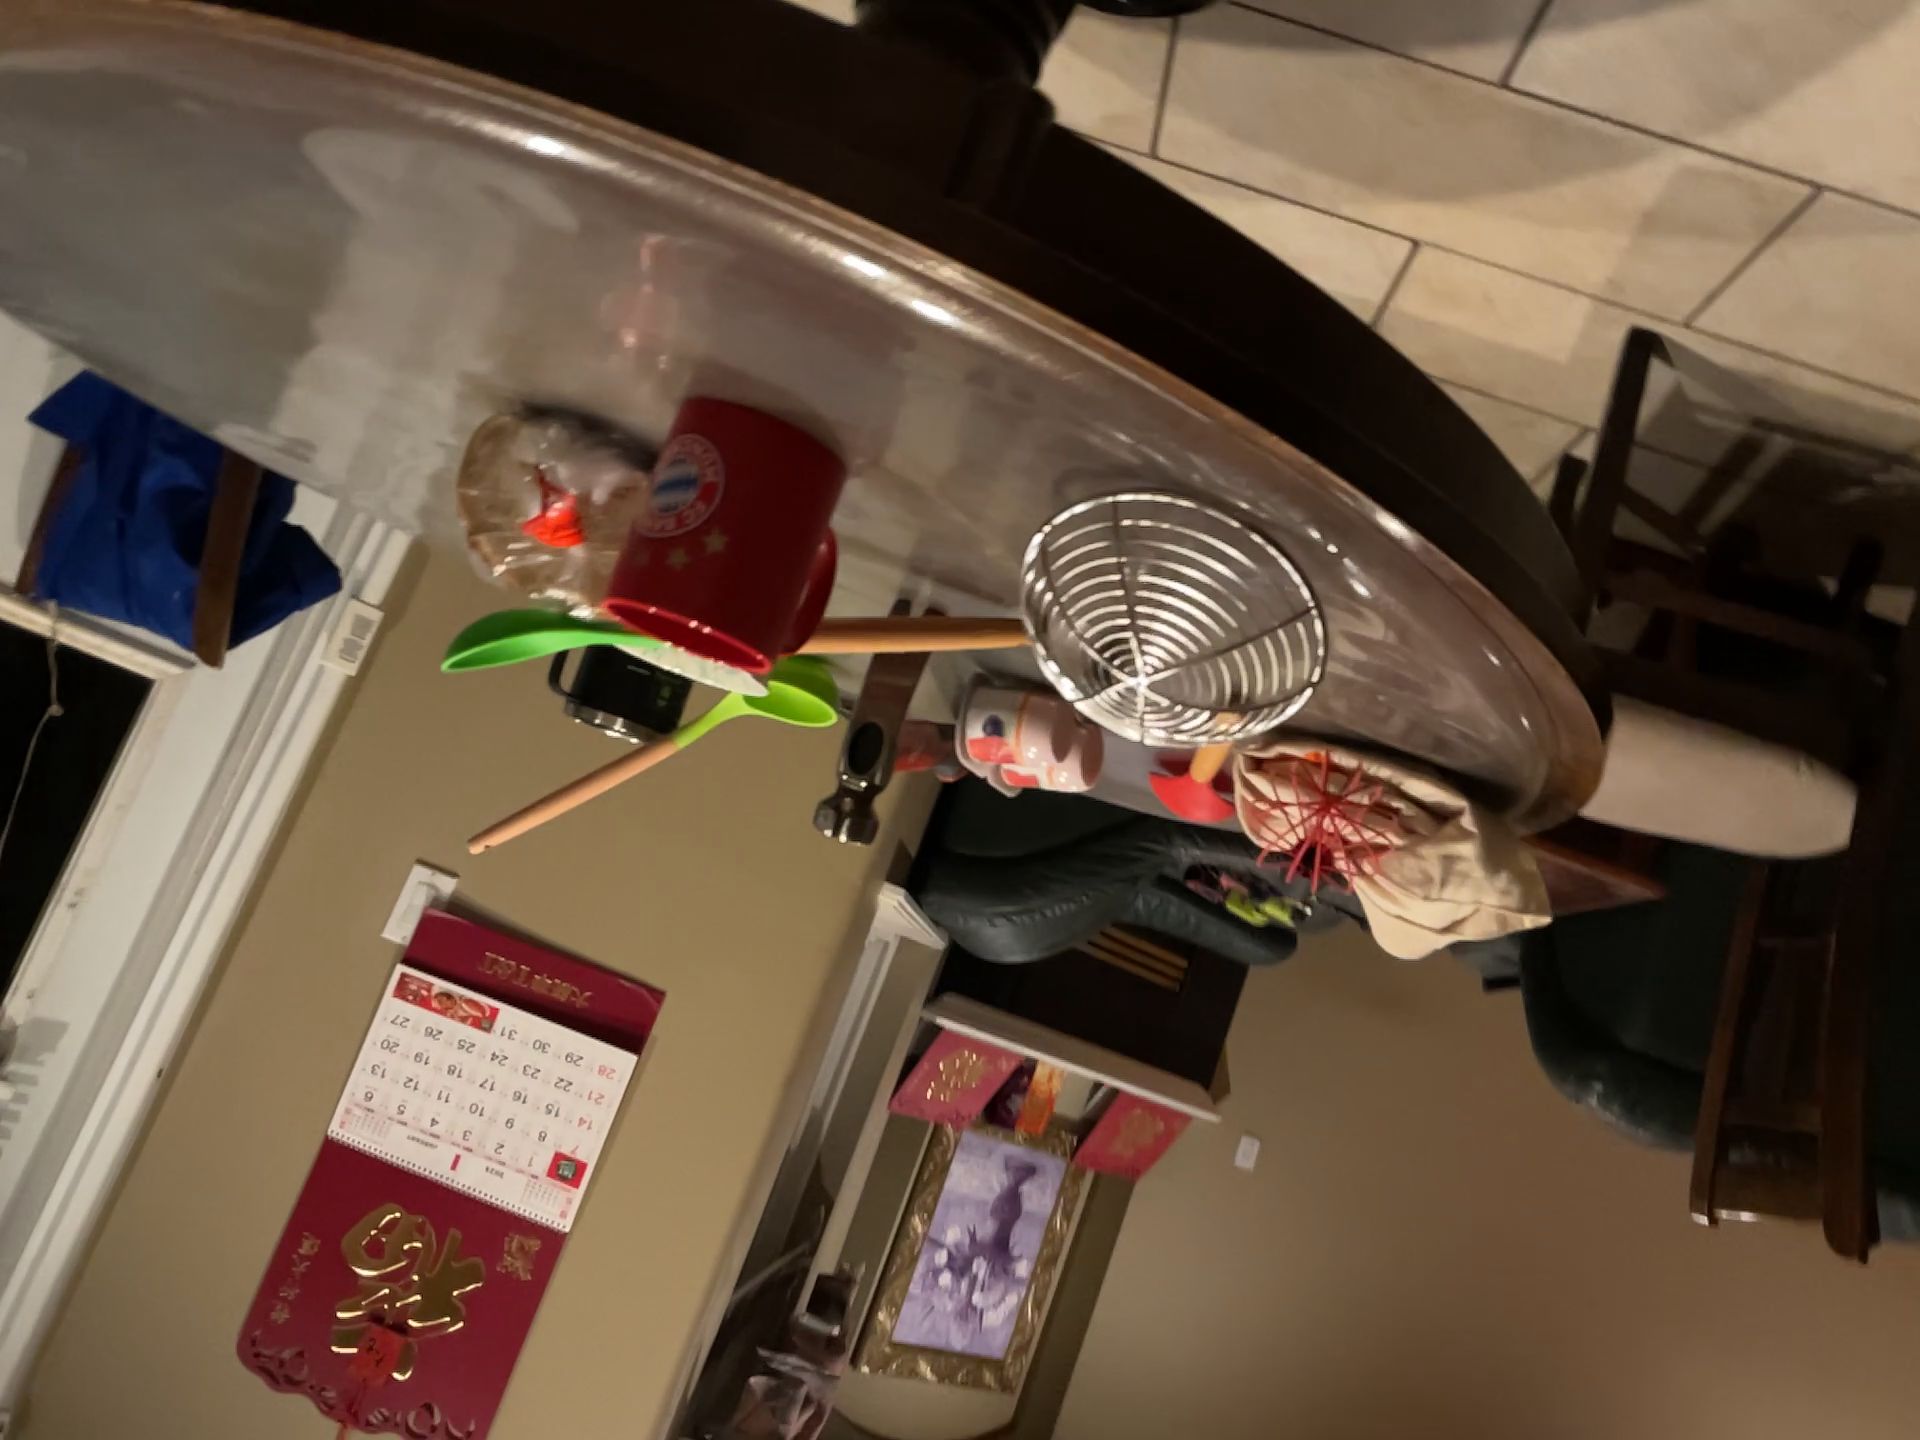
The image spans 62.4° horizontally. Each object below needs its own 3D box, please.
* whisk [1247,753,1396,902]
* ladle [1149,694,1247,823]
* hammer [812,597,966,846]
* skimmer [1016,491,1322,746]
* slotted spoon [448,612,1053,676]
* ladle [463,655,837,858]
[{"bbox_3d":[0.196,0.073,0.873,0.073,0.073,0.295,17,171,13],"label":"whisk"},{"bbox_3d":[0.158,0.027,1.000,0.069,0.031,0.315,18,168,8],"label":"ladle"},{"bbox_3d":[-0.021,0.002,1.081,0.038,0.143,0.386,20,-178,7],"label":"hammer"},{"bbox_3d":[0.086,-0.037,0.766,0.127,0.090,0.363,28,-179,2],"label":"skimmer"},{"bbox_3d":[-0.108,-0.043,0.830,0.313,0.031,0.070,-2,176,-4],"label":"slotted spoon"},{"bbox_3d":[-0.242,0.039,1.226,0.062,0.320,0.078,65,-175,33],"label":"ladle"}]
